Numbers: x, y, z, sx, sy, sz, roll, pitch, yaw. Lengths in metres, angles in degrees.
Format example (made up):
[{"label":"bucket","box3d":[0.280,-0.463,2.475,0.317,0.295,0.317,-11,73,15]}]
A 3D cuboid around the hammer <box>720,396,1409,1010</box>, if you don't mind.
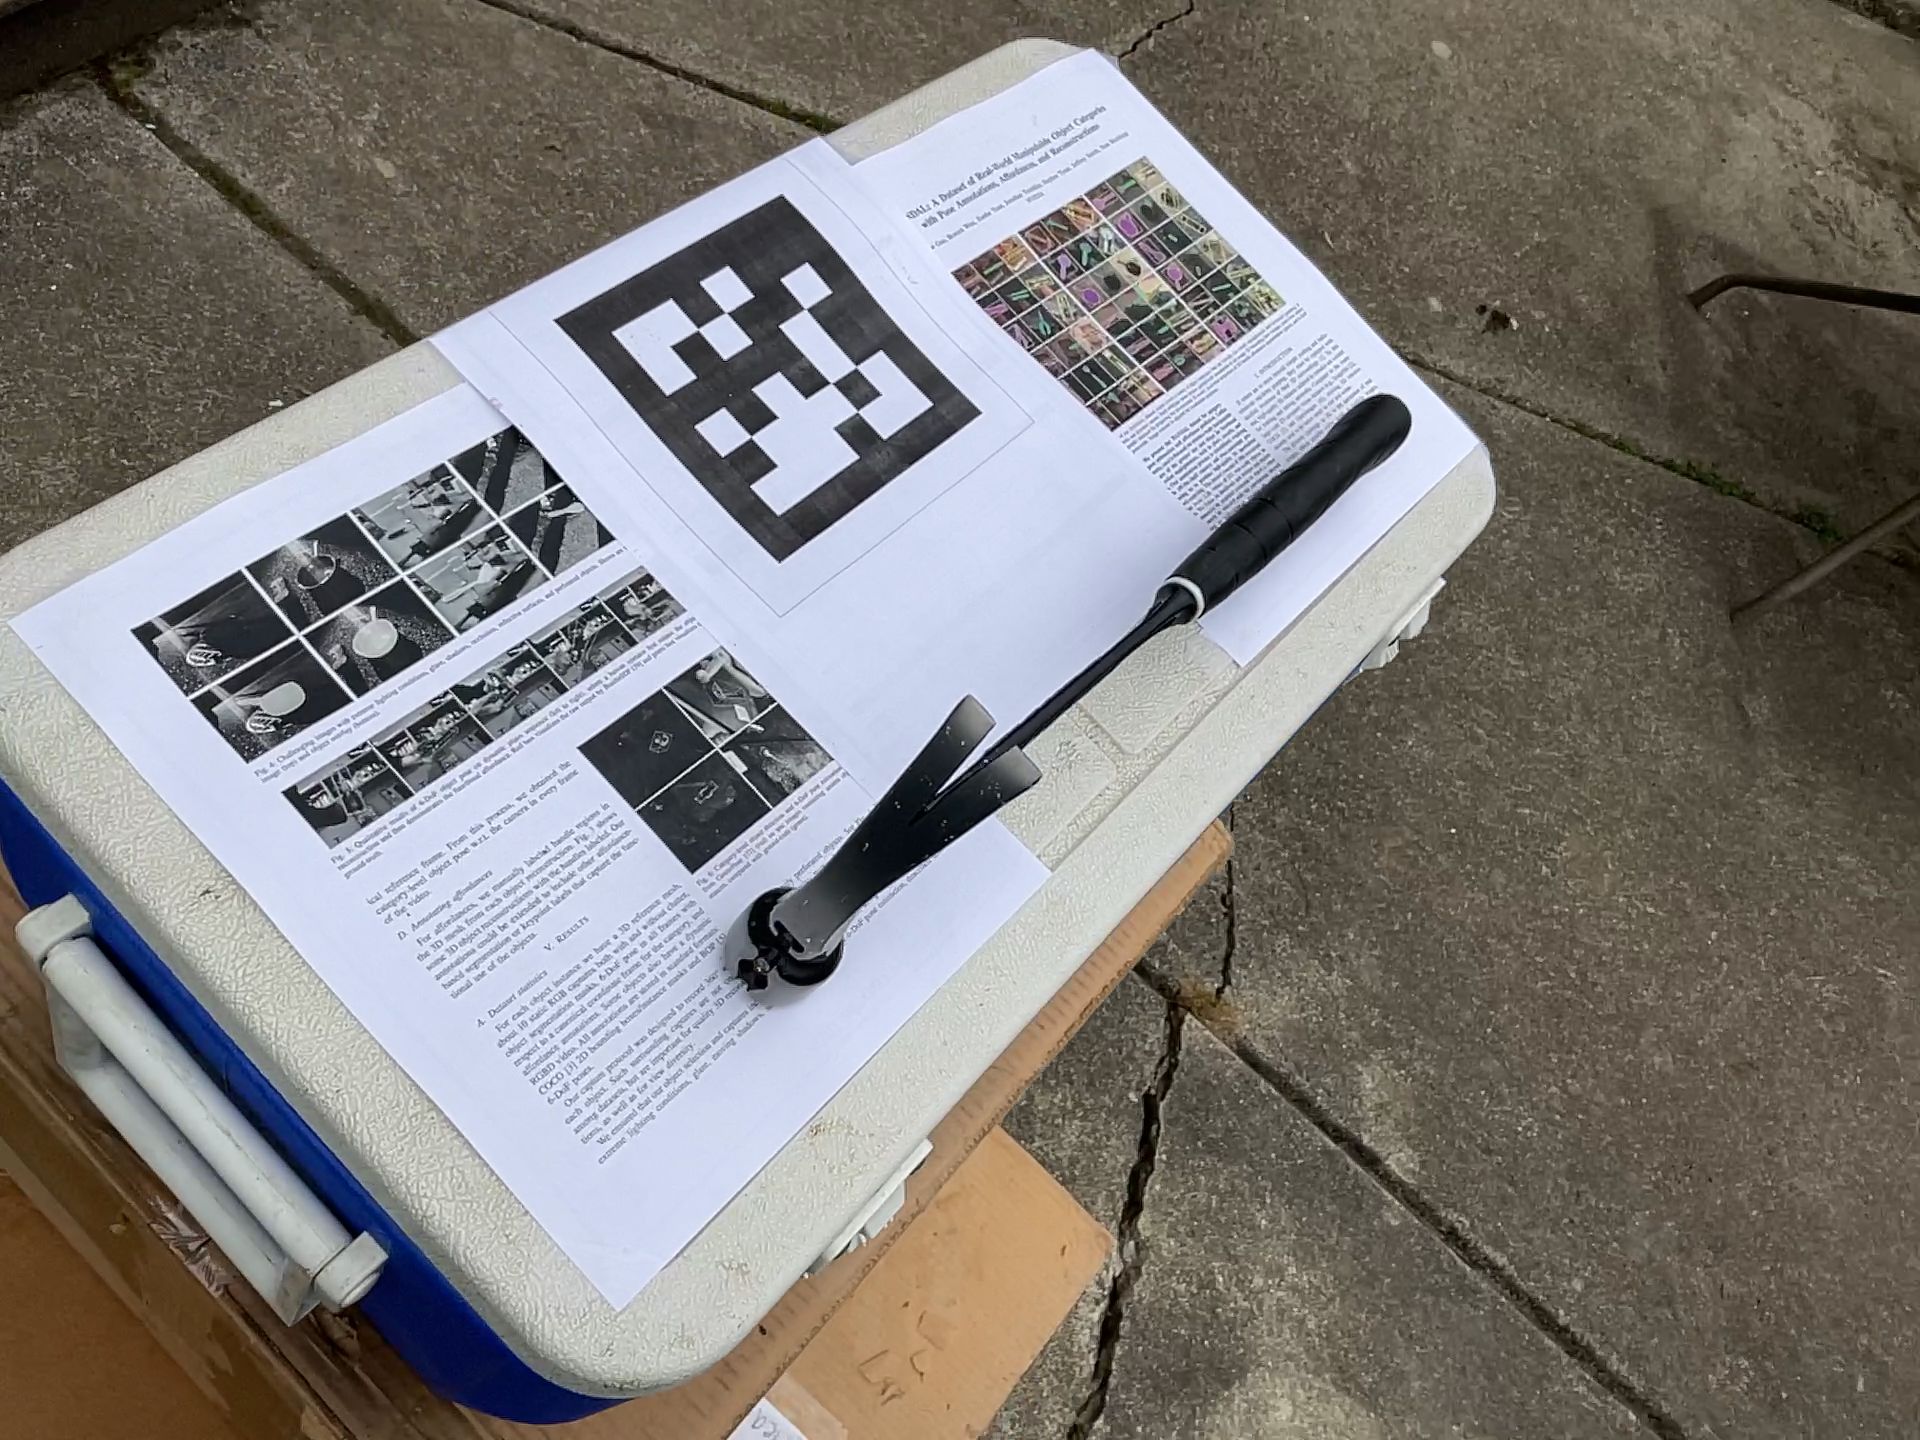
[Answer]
[{"label":"hammer","box3d":[0.076,-0.041,0.608,0.036,0.149,0.409,48,49,3]}]
